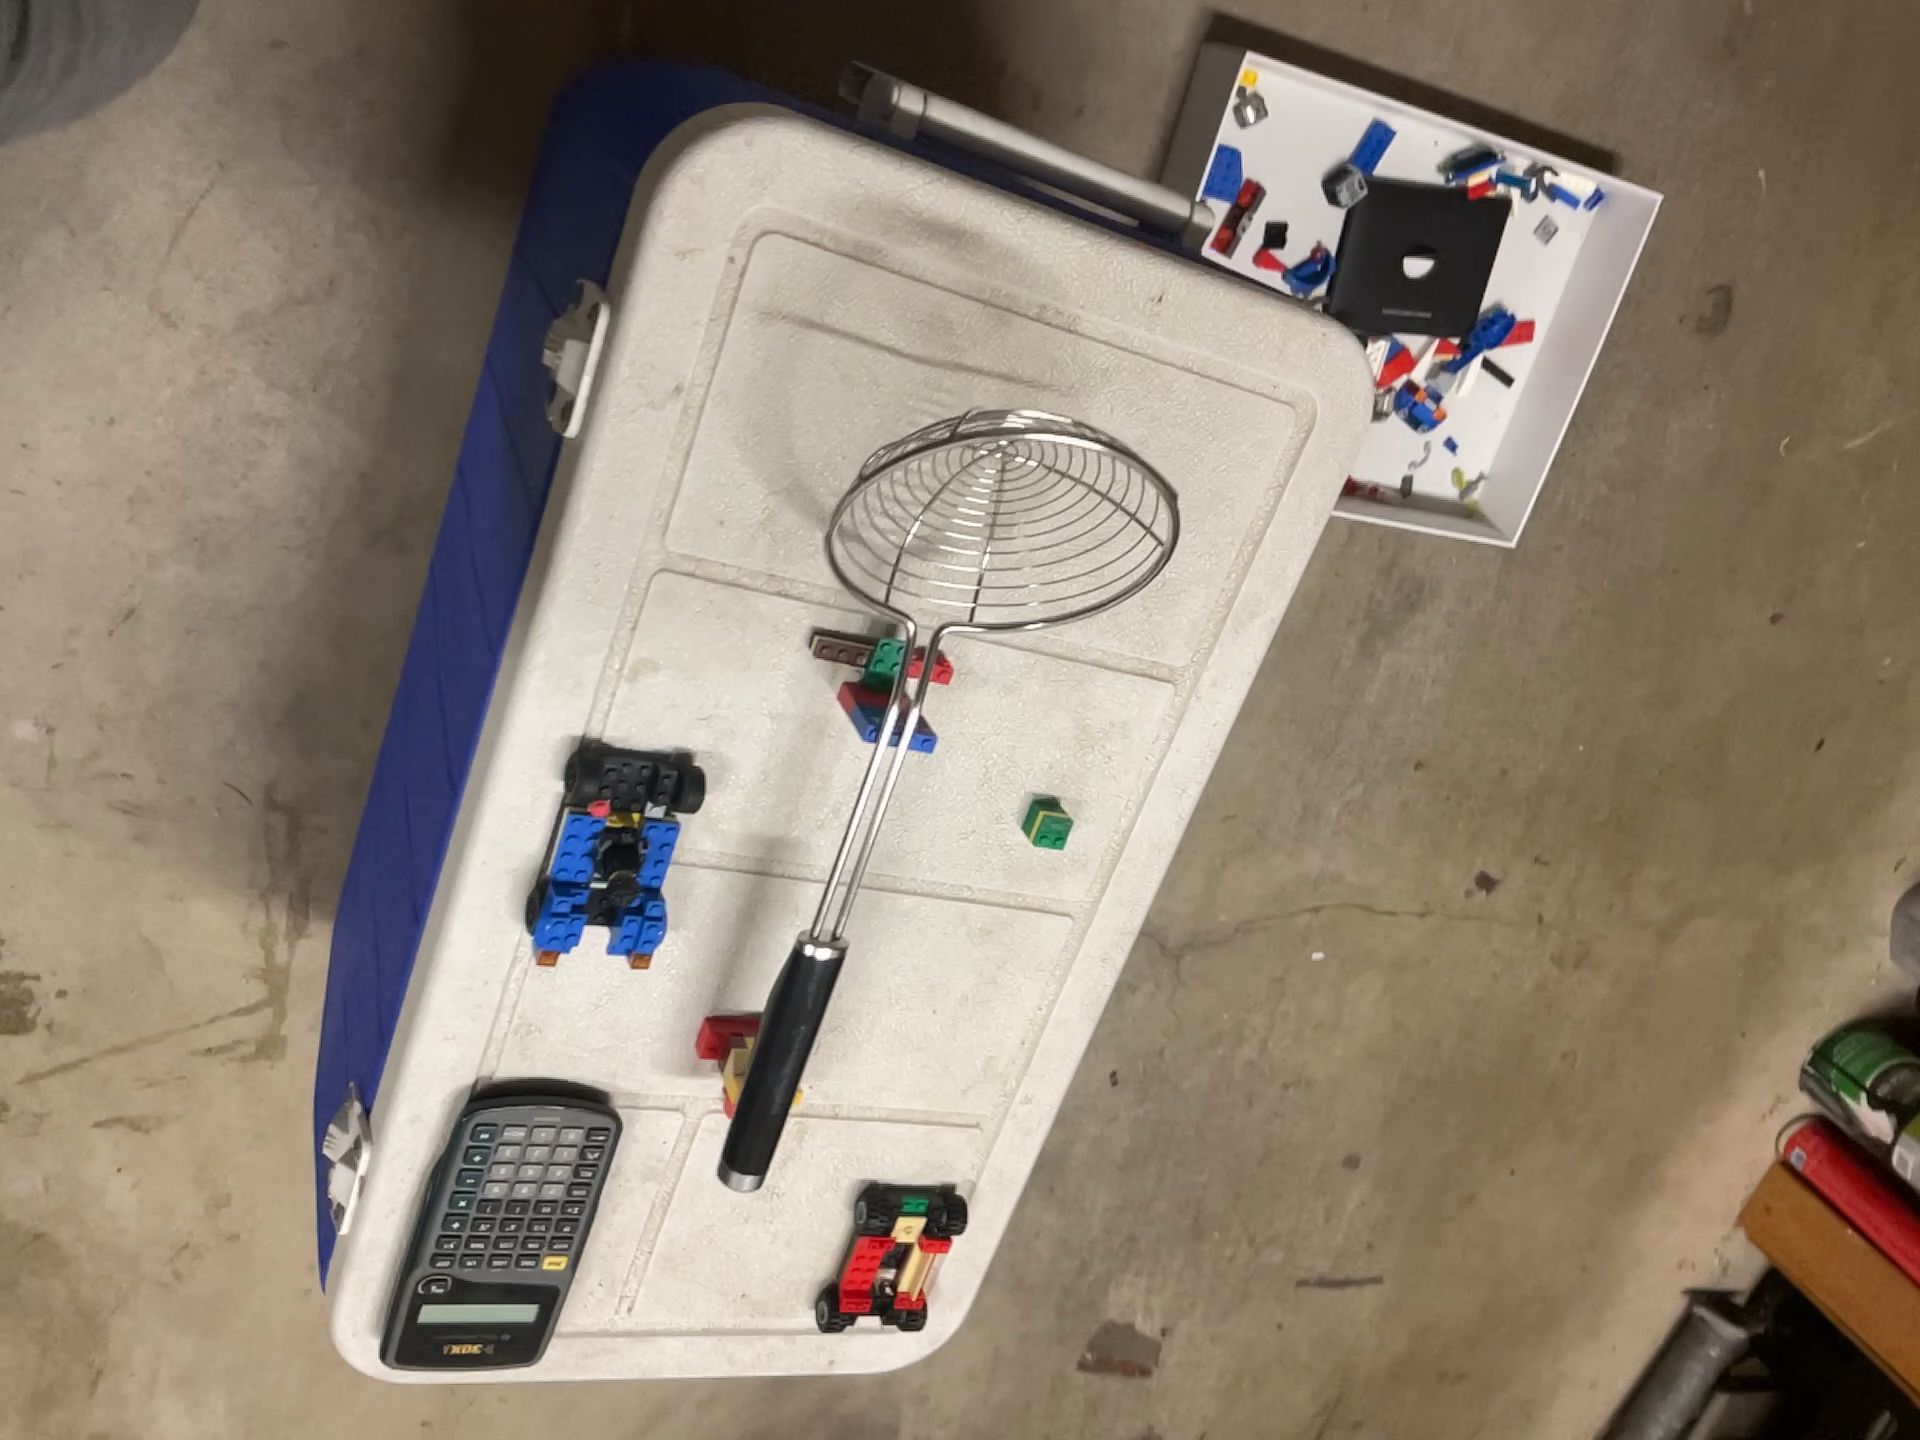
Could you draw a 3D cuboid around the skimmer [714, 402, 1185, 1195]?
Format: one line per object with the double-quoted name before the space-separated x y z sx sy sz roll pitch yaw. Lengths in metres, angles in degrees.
"skimmer" -0.028 0.050 0.605 0.127 0.090 0.362 11 111 -25
